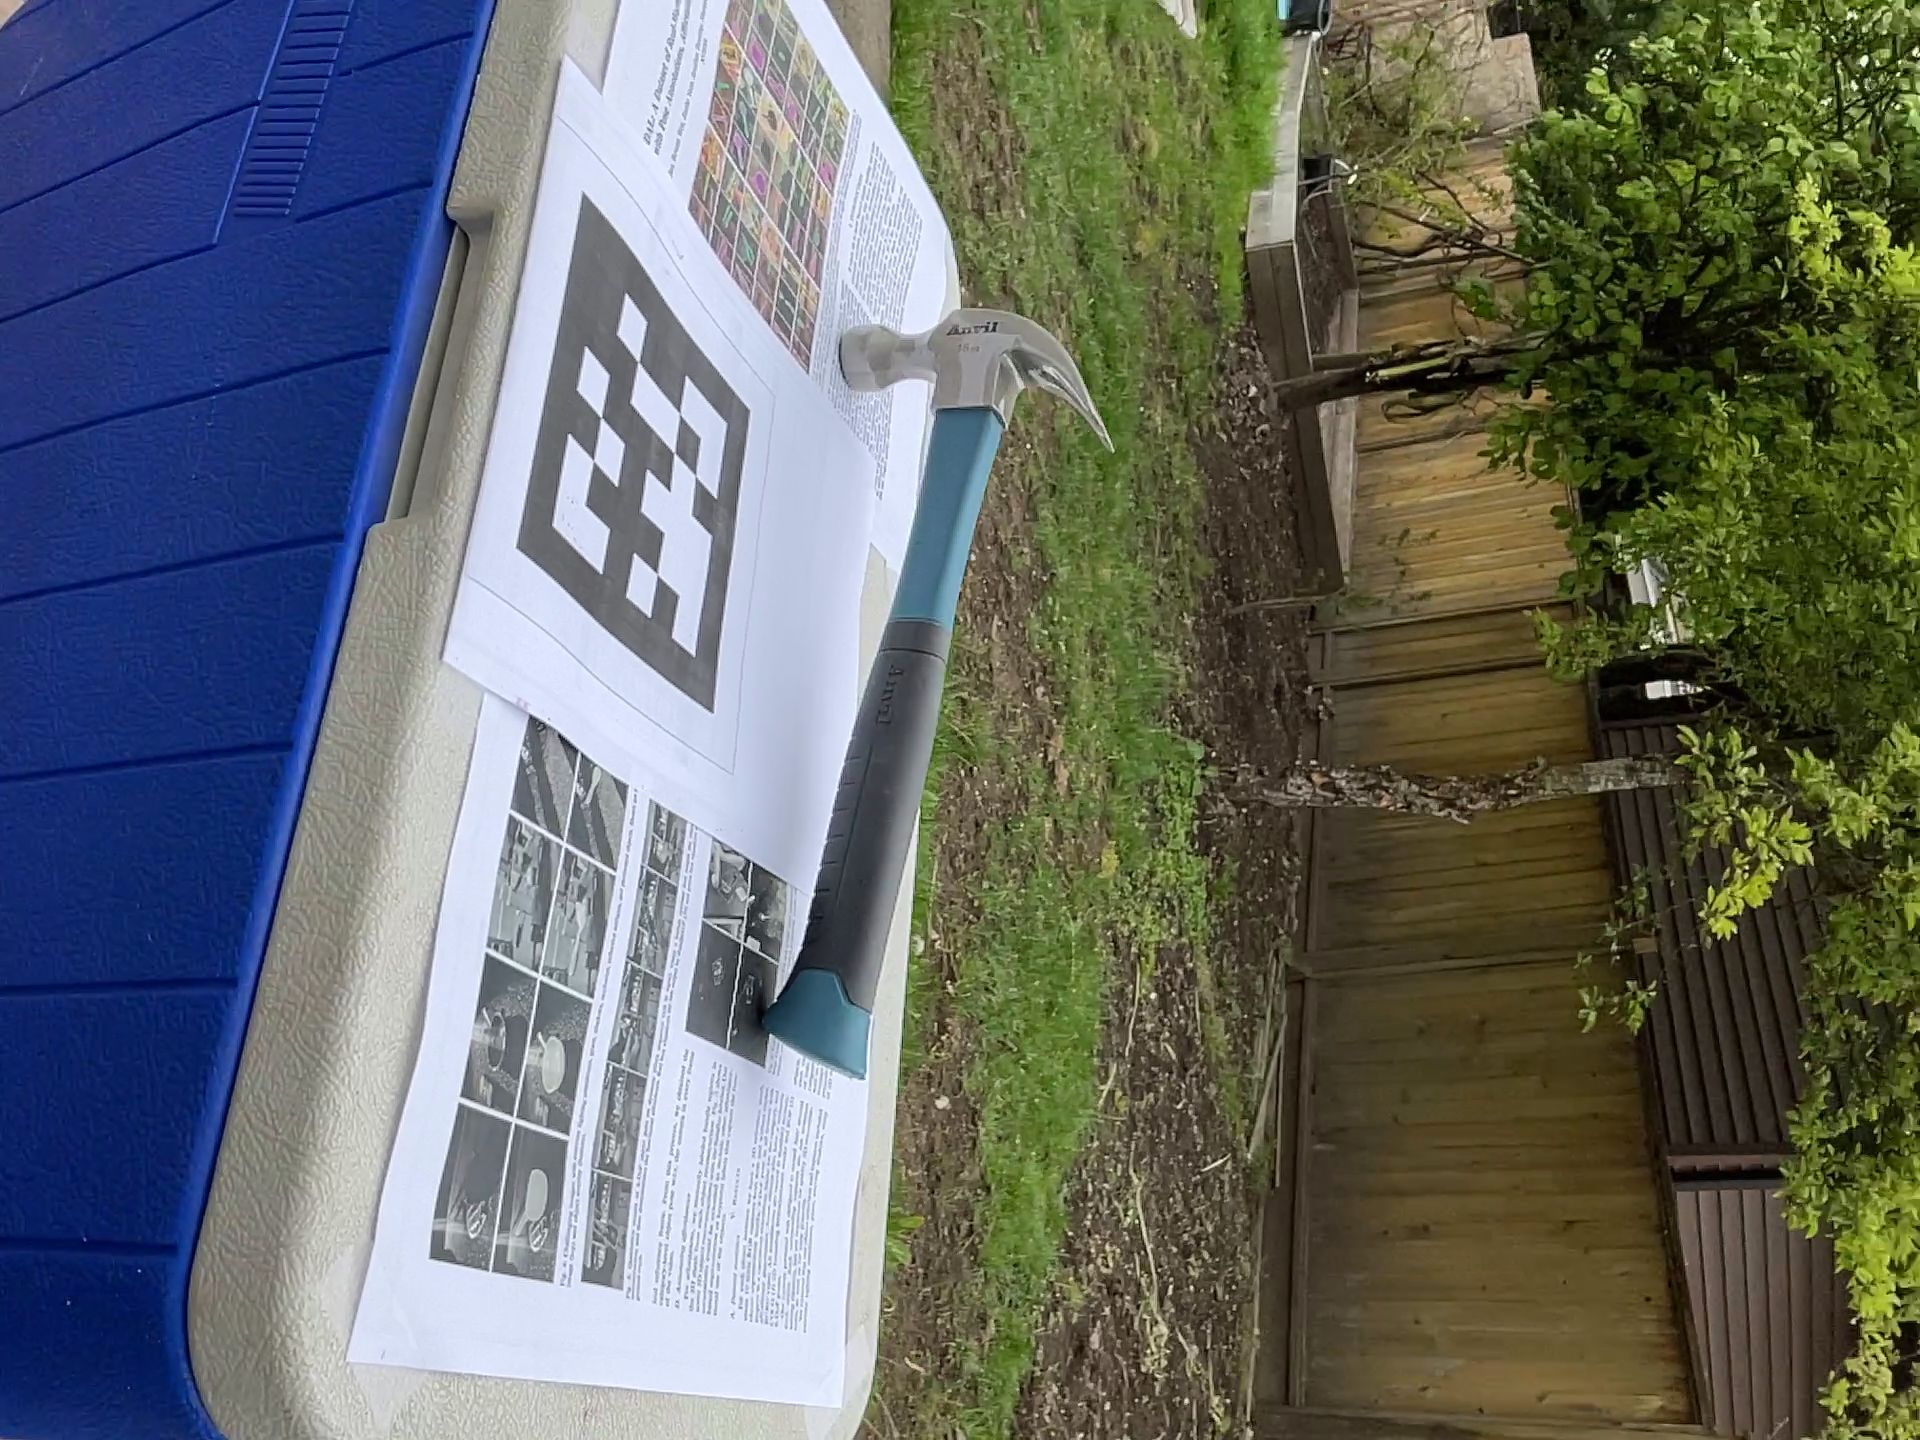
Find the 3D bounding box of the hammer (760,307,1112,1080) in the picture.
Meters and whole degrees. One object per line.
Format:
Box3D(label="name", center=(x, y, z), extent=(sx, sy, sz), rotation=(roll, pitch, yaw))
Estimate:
Box3D(label="hammer", center=(-0.022, -0.024, 0.636), extent=(0.033, 0.128, 0.331), rotation=(47, 50, -56))
